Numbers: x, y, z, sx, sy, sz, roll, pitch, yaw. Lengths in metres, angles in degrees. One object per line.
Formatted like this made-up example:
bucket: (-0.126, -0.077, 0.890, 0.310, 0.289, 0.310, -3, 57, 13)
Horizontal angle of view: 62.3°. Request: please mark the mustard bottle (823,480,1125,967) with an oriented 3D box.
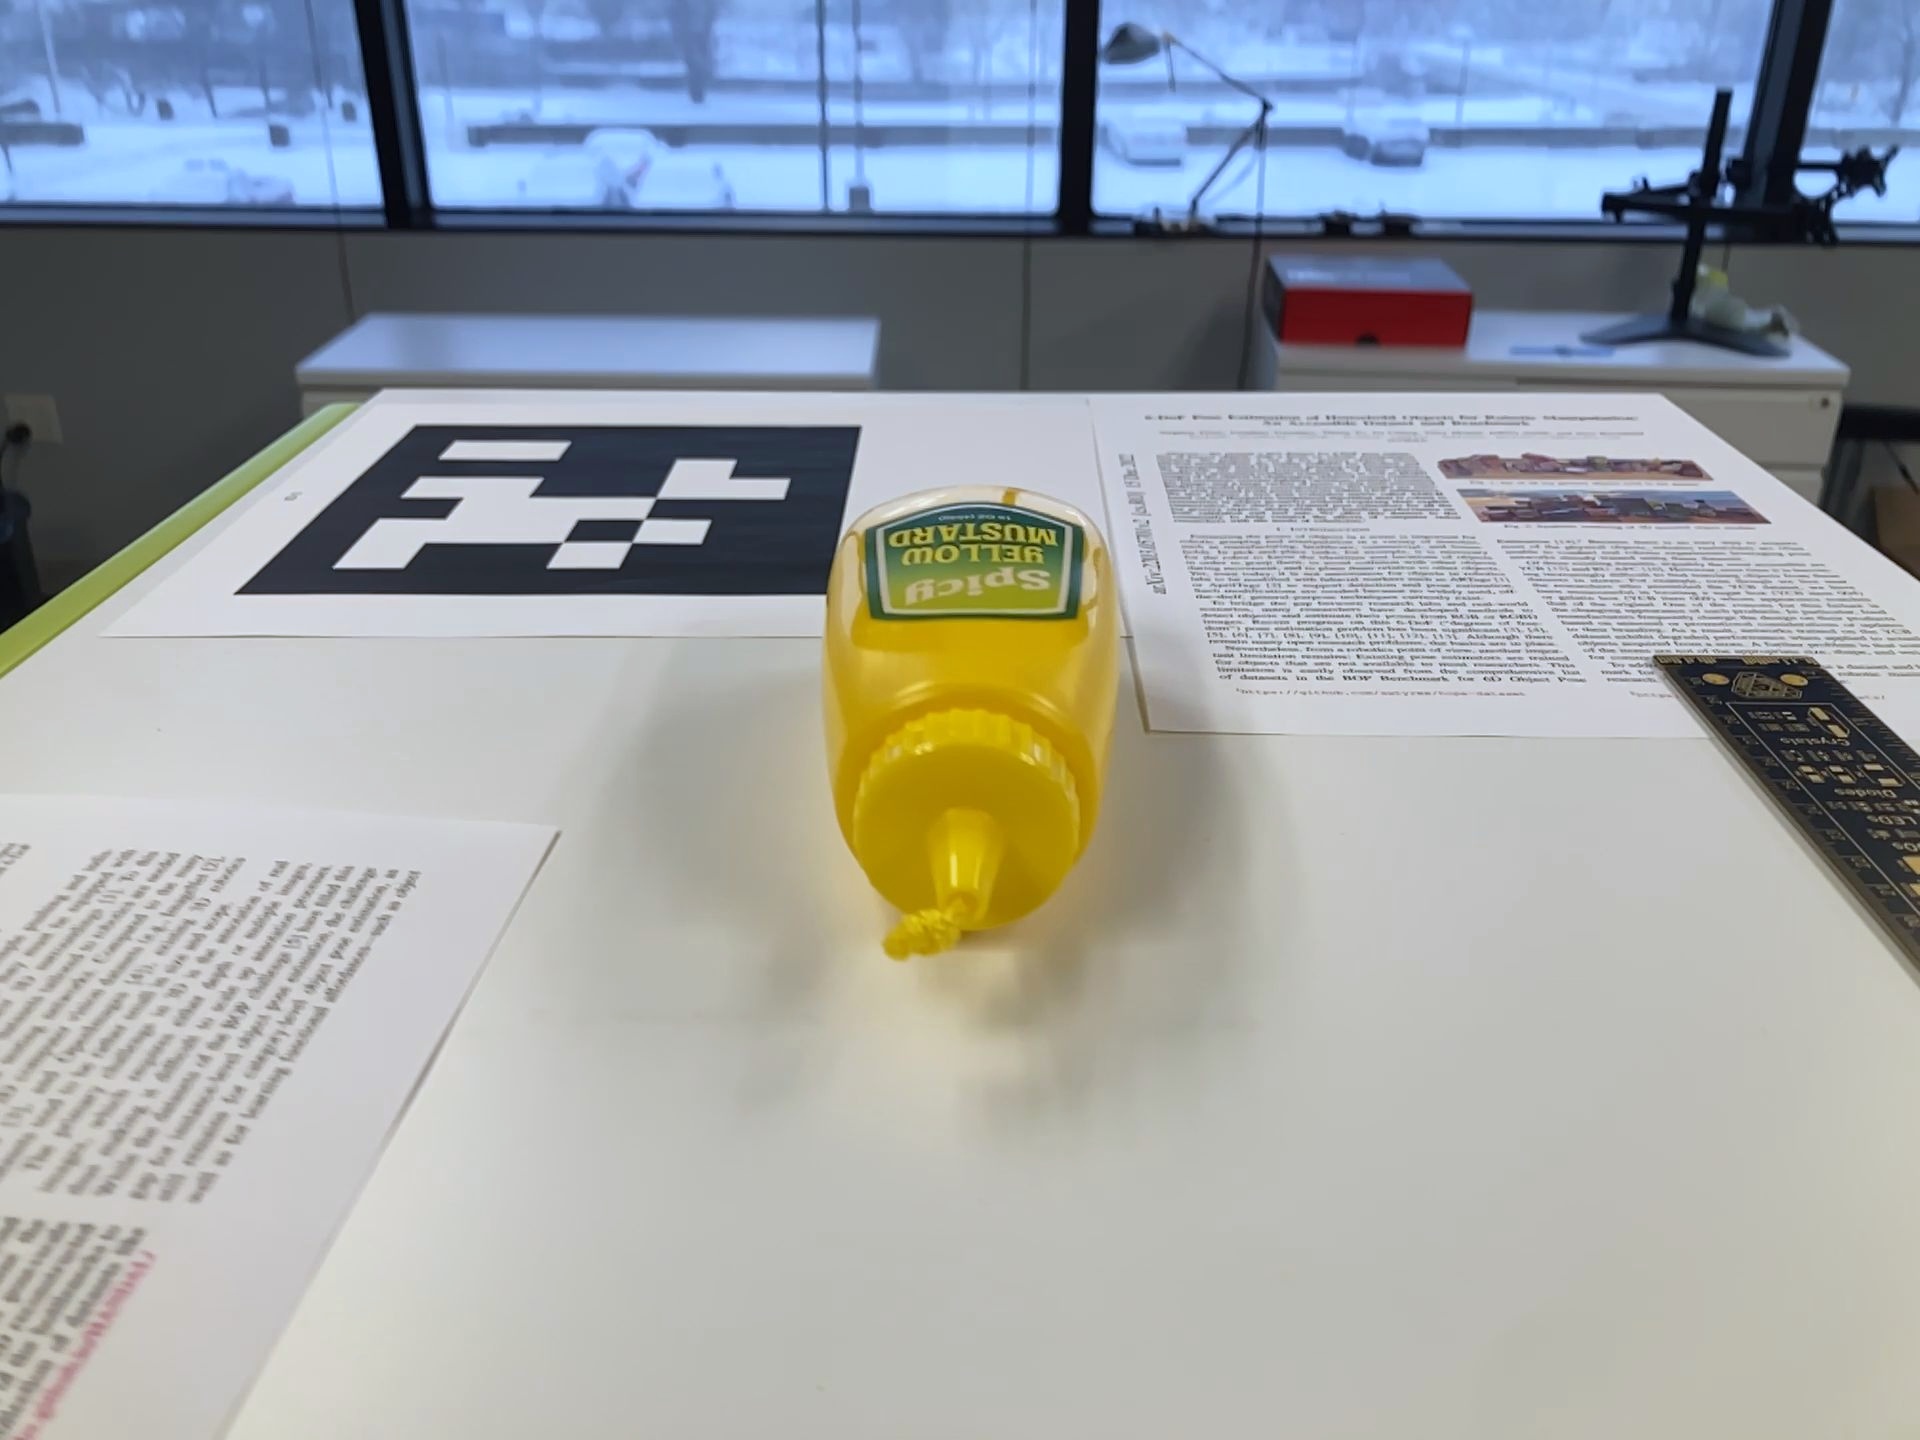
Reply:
mustard bottle: (0.003, -0.003, 0.313, 0.065, 0.049, 0.160, -1, 26, 0)
